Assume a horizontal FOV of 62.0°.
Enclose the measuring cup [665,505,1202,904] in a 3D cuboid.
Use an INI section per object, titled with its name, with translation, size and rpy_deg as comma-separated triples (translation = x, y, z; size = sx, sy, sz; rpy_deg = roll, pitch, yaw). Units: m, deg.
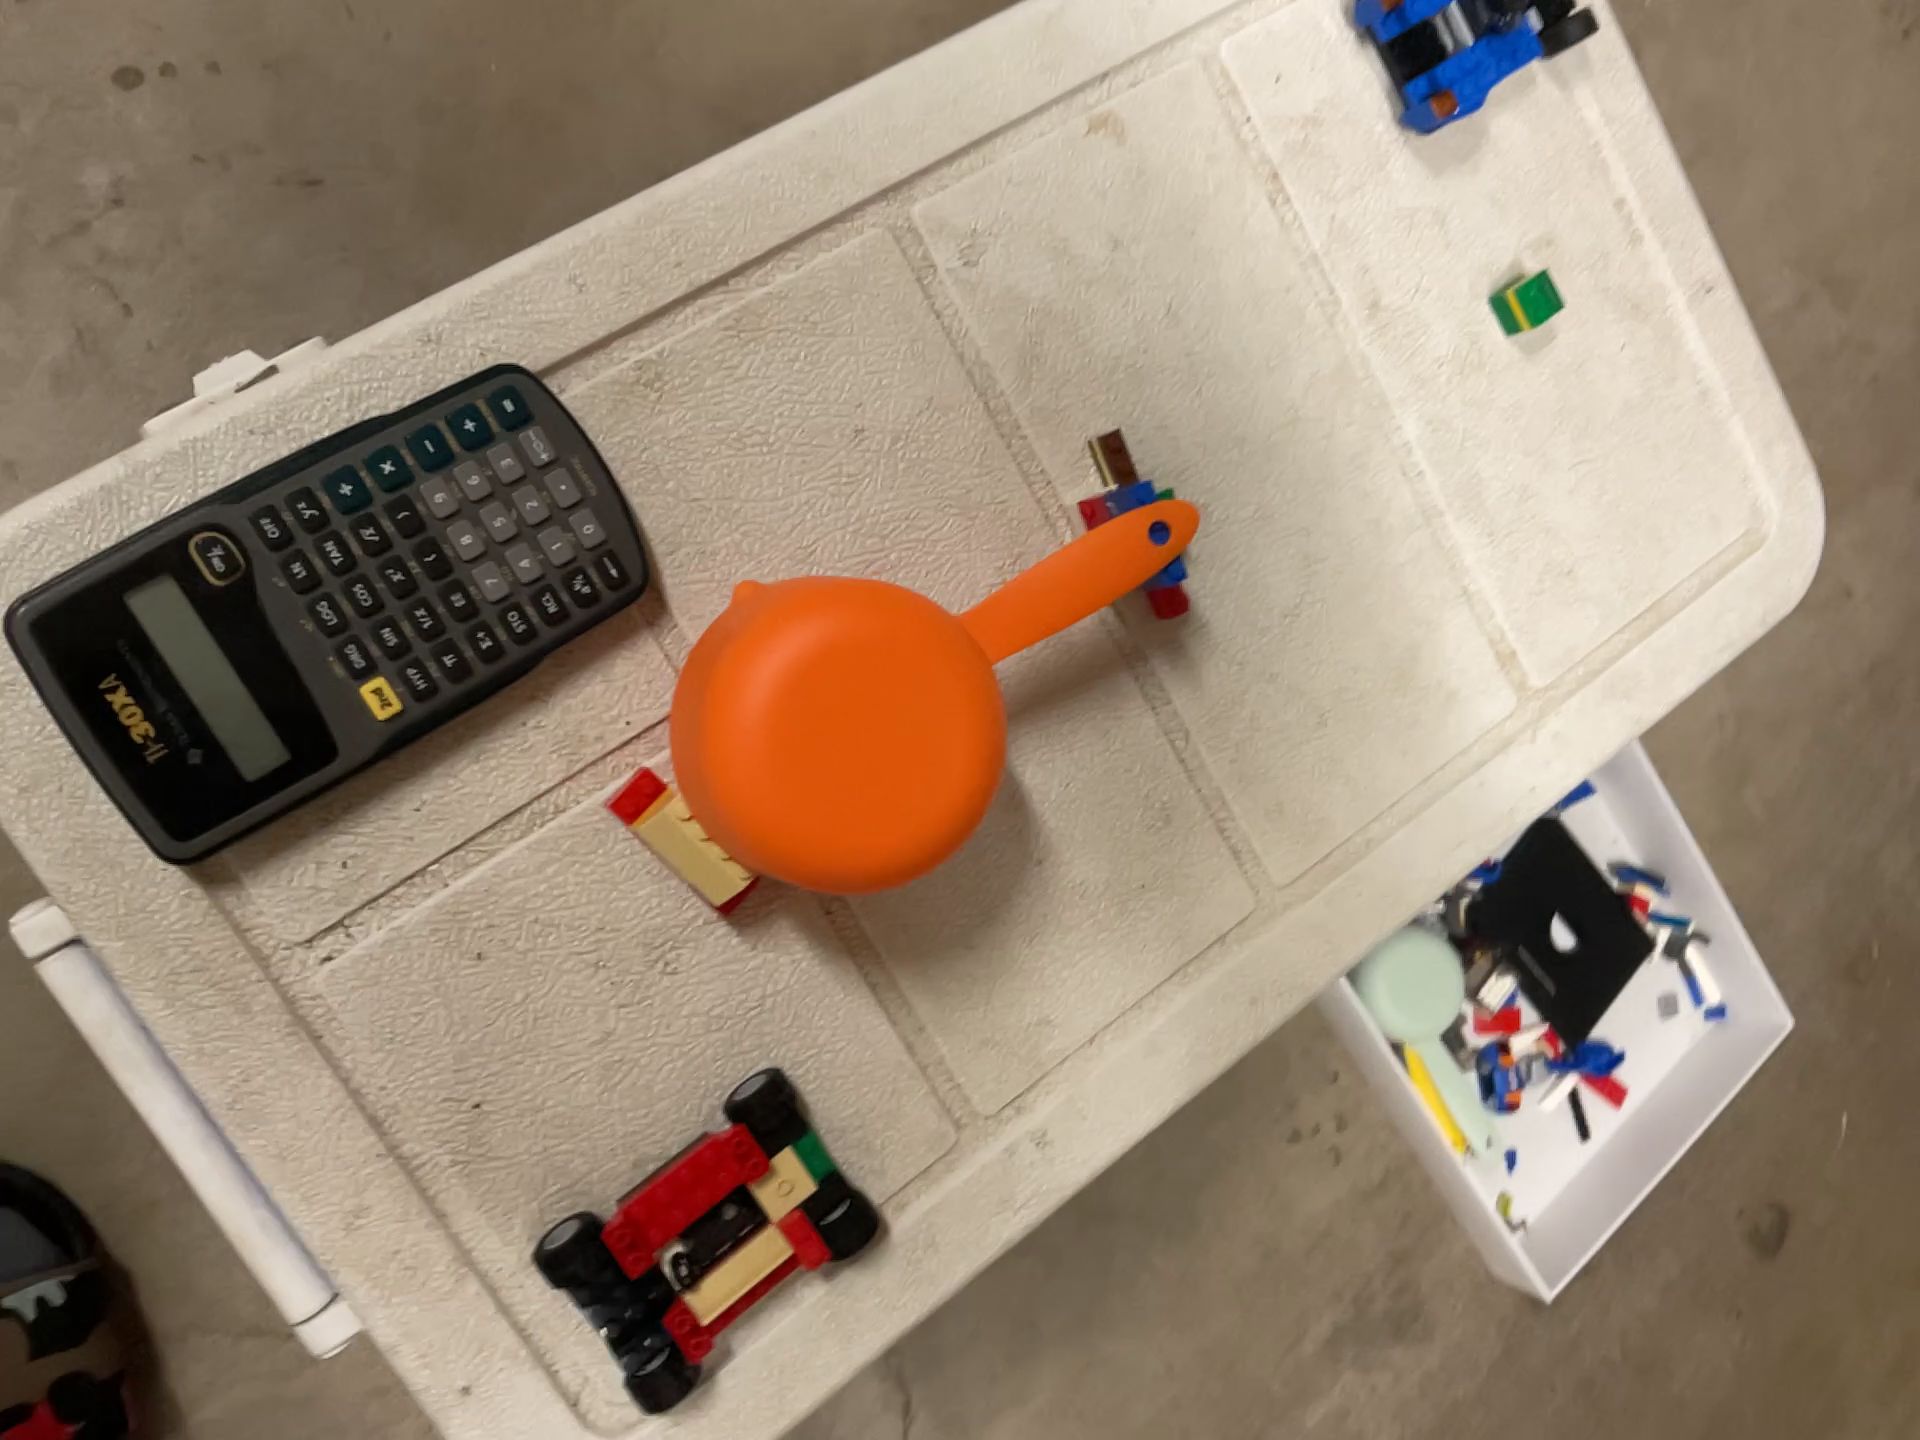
[measuring cup]
translation = 0.004, -0.016, 0.433
size = 0.173, 0.052, 0.095
rpy_deg = -31, 102, -13
